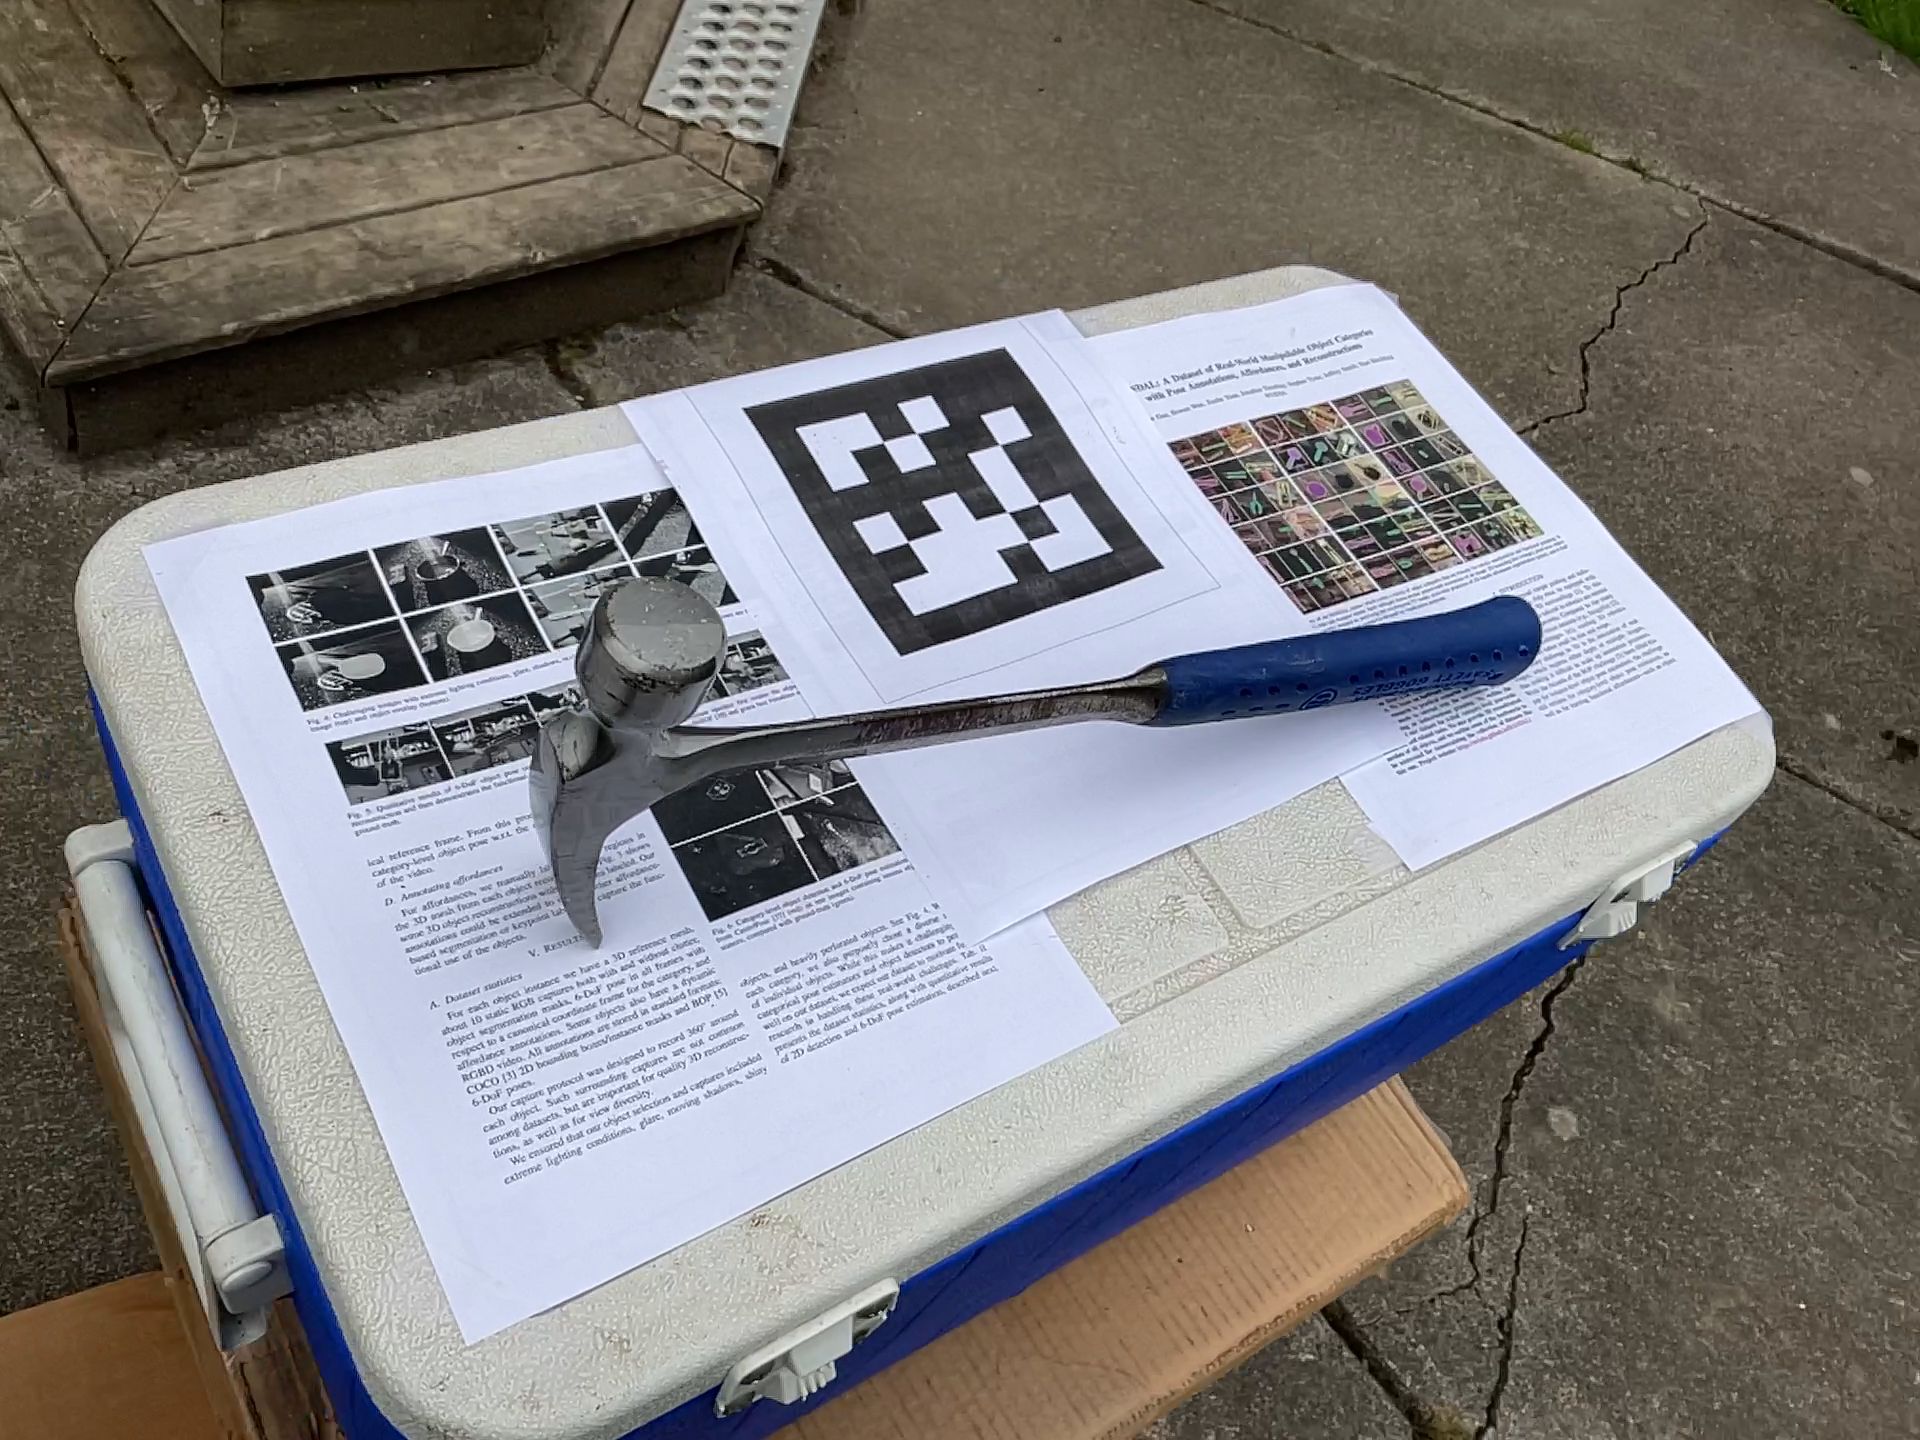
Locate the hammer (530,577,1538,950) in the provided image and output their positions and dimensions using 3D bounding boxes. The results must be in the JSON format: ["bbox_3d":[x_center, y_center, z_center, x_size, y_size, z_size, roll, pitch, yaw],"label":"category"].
[{"bbox_3d":[0.051,-0.004,0.543,0.405,0.144,0.035,-8,59,-34],"label":"hammer"}]
